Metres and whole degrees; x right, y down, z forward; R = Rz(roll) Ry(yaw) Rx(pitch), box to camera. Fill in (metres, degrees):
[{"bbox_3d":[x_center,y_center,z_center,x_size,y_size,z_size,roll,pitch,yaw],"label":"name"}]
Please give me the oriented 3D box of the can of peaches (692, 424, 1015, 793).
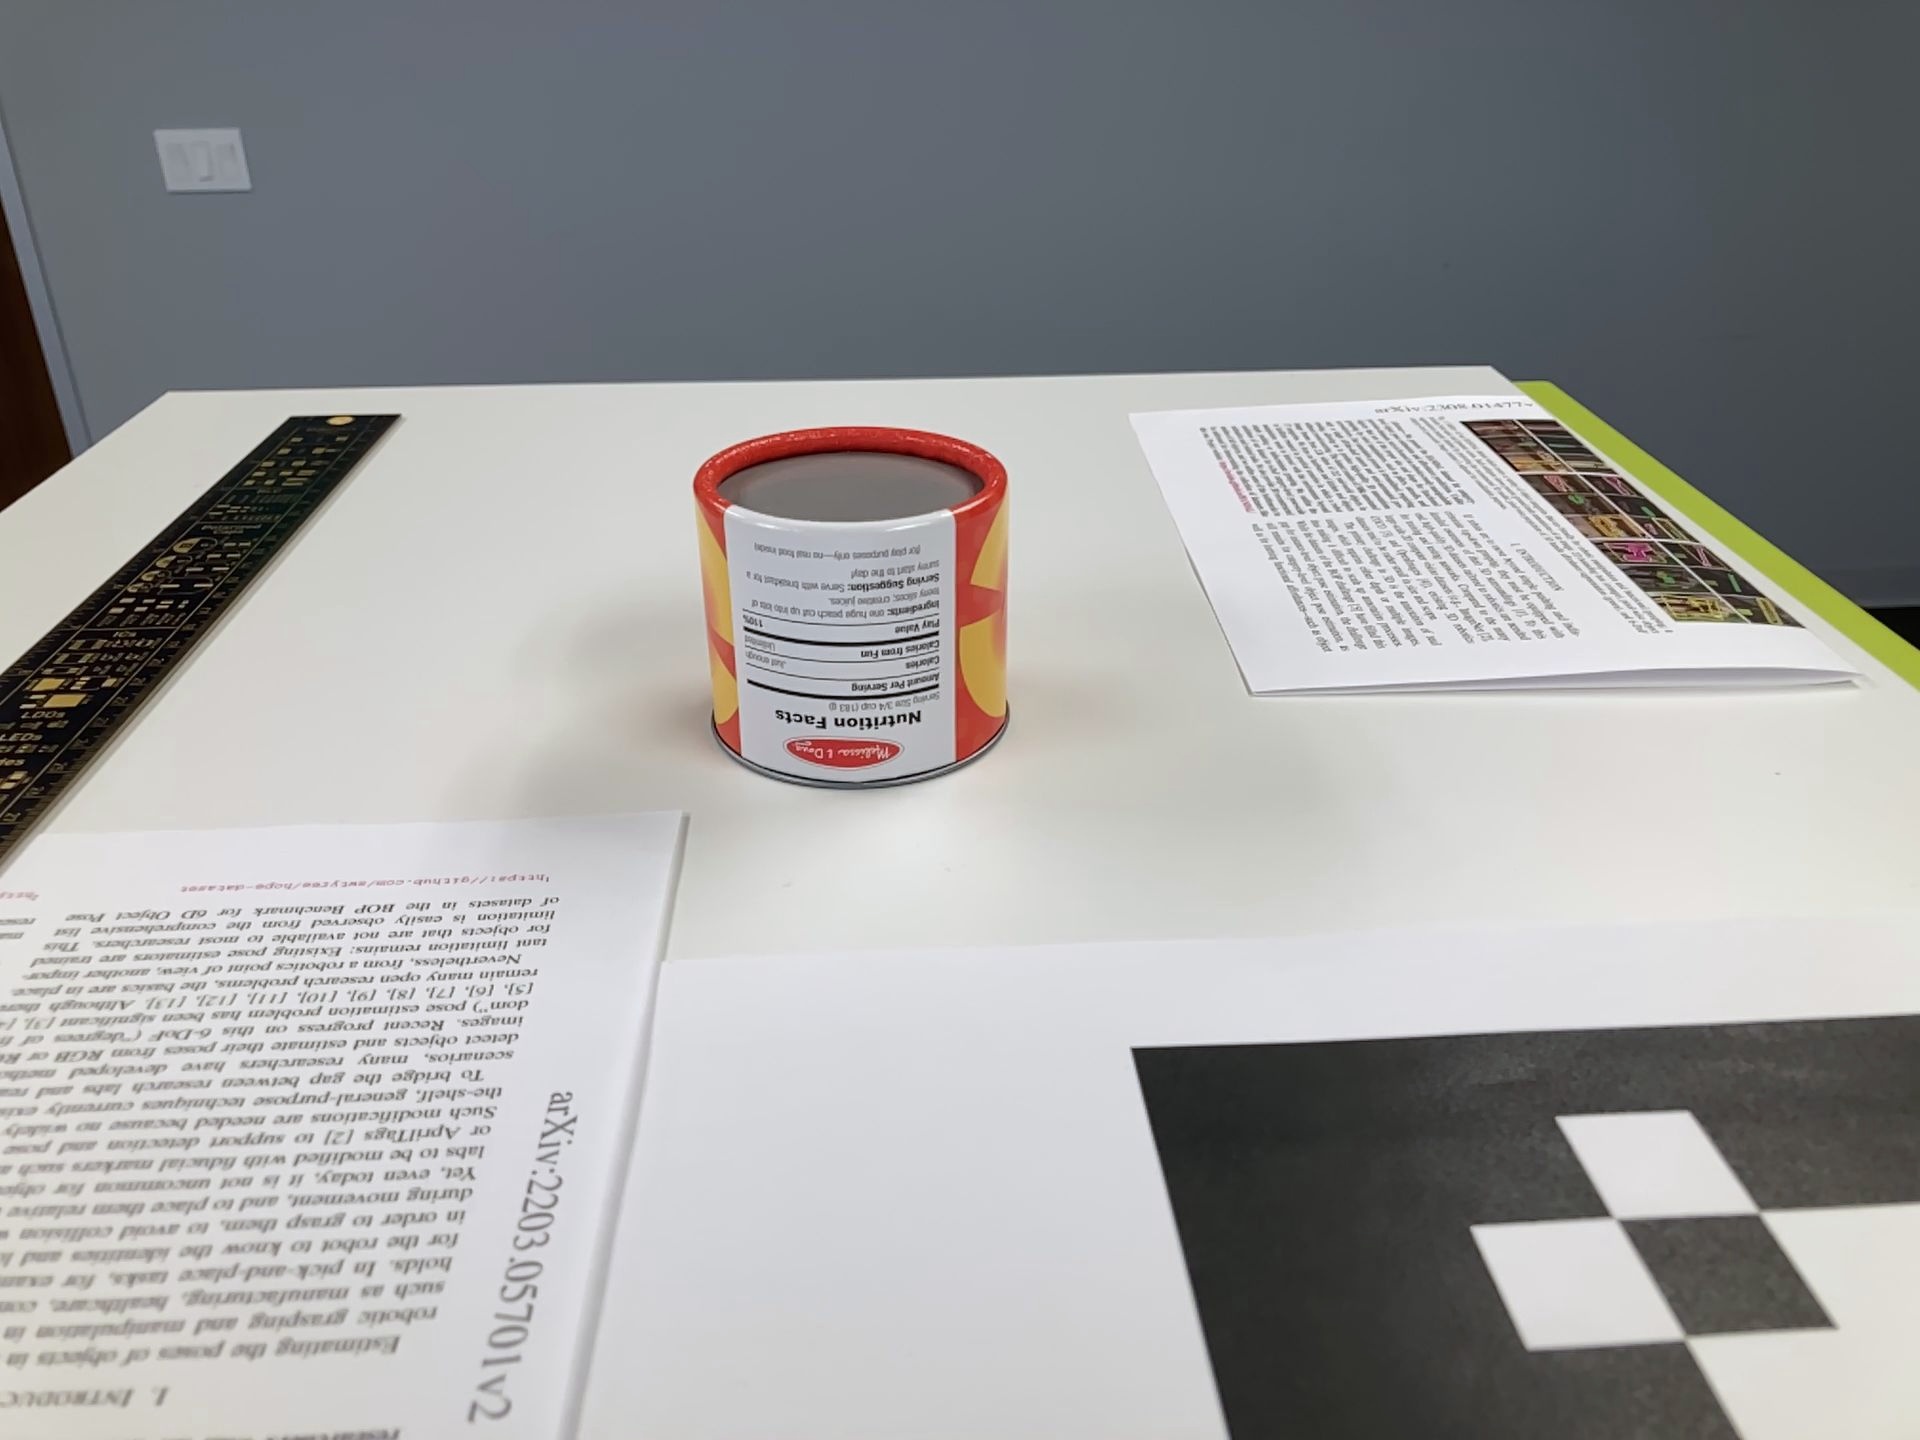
[{"bbox_3d":[-0.022,-0.027,0.337,0.071,0.058,0.071,-1,28,0],"label":"can of peaches"}]
